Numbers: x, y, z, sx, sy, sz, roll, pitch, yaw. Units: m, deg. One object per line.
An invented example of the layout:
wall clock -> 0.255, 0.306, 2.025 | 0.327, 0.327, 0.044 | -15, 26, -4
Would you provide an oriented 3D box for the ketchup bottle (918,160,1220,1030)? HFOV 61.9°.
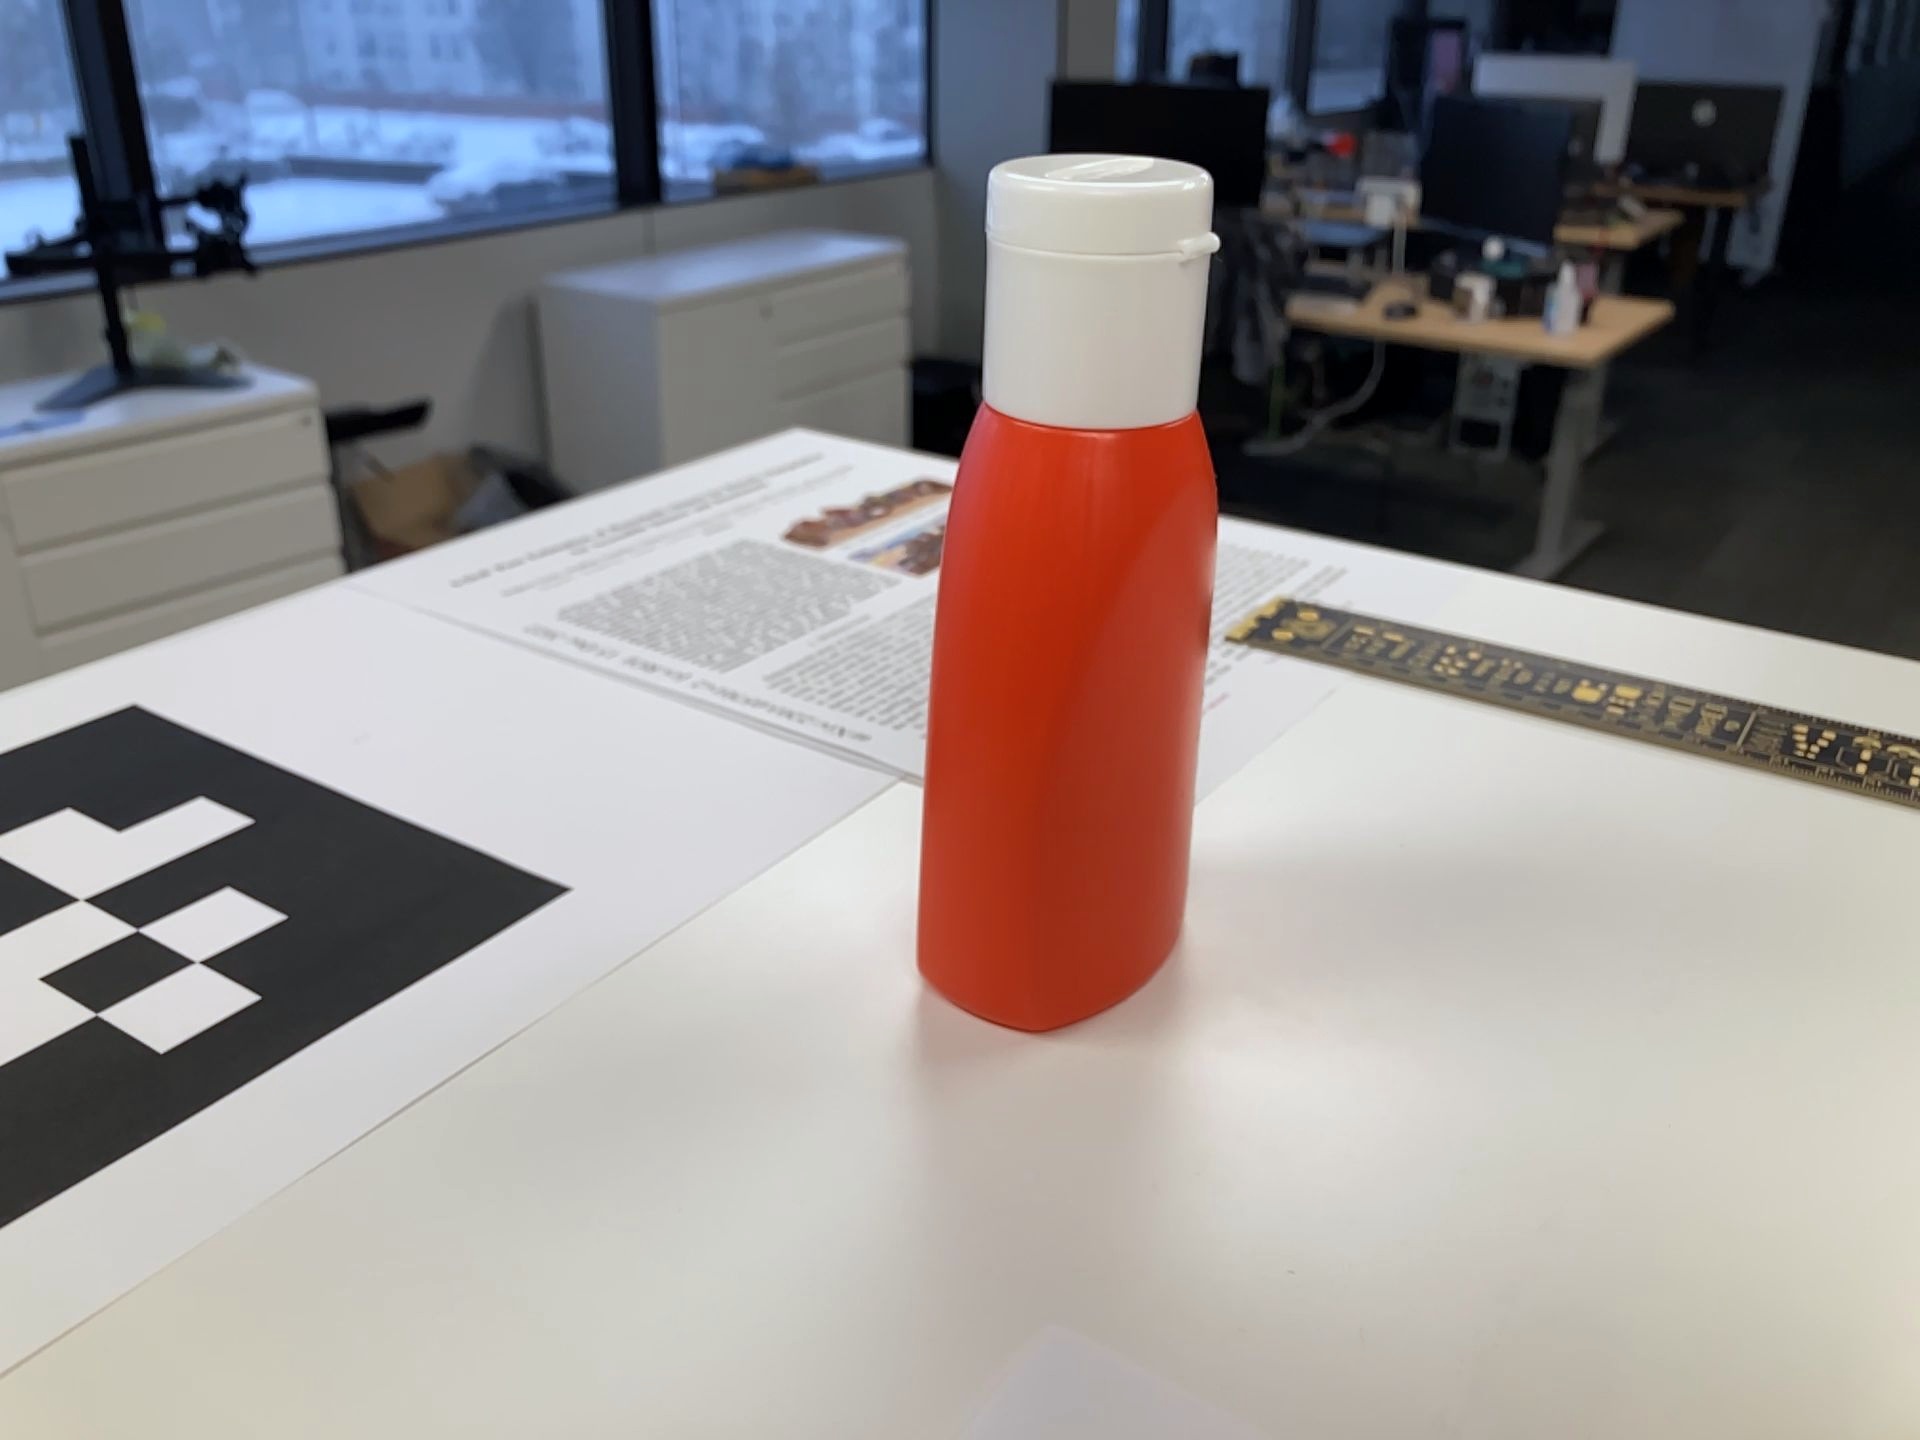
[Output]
ketchup bottle -> 0.022, -0.021, 0.288 | 0.043, 0.149, 0.065 | 18, 30, 31
